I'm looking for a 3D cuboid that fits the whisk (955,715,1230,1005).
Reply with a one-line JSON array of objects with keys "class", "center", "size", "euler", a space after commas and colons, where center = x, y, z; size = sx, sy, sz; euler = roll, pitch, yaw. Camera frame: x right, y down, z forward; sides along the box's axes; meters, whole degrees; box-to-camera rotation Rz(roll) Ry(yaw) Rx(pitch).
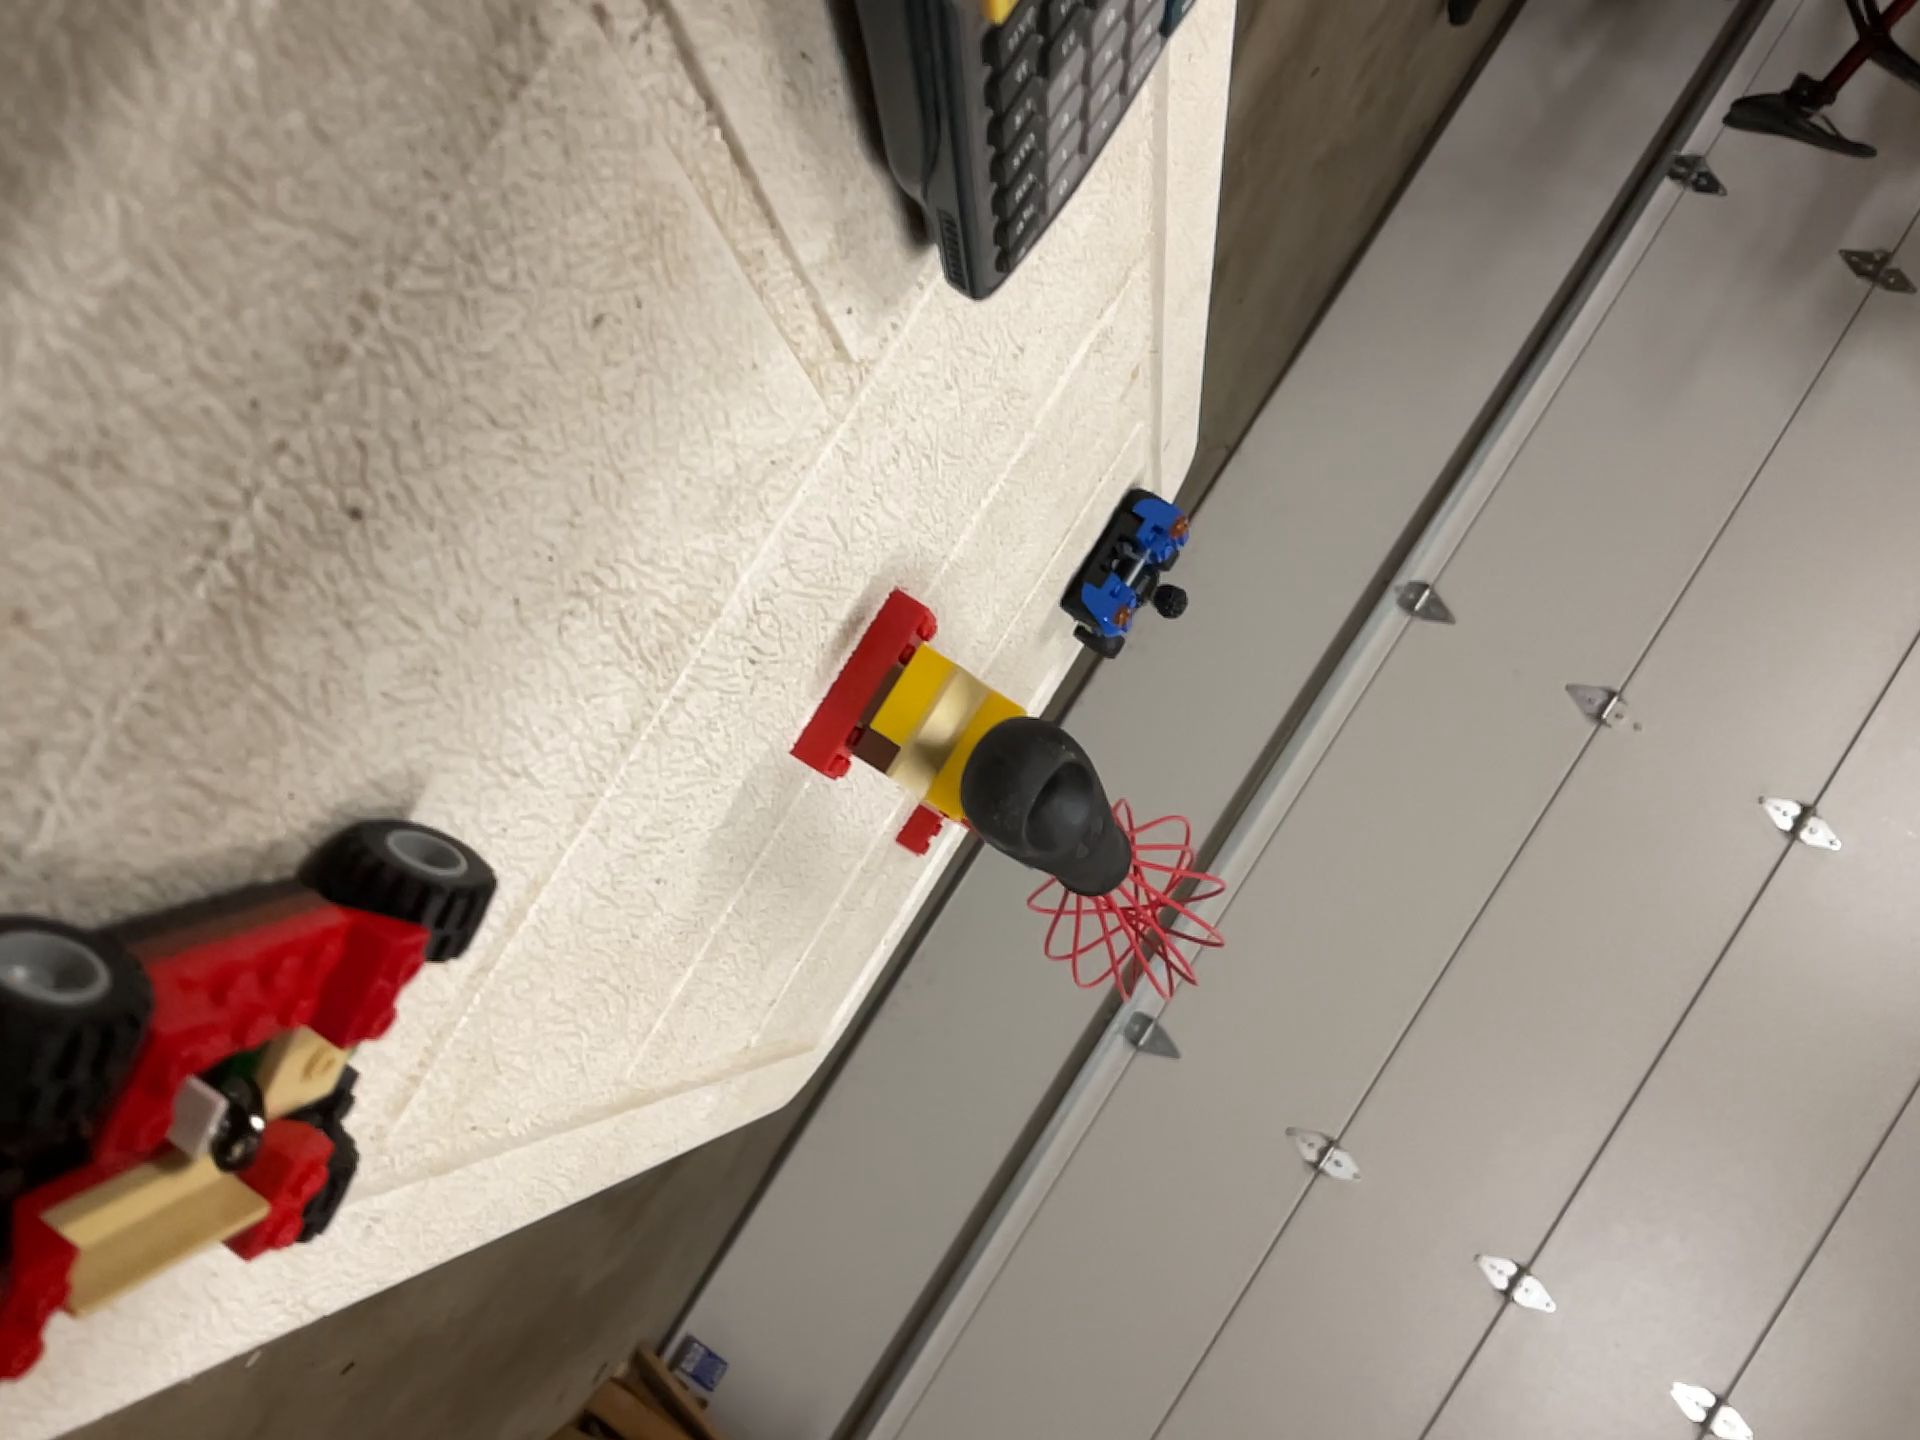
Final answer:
[{"class": "whisk", "center": [0.042, 0.045, 0.485], "size": [0.073, 0.073, 0.295], "euler": [-54, 161, -4]}]
